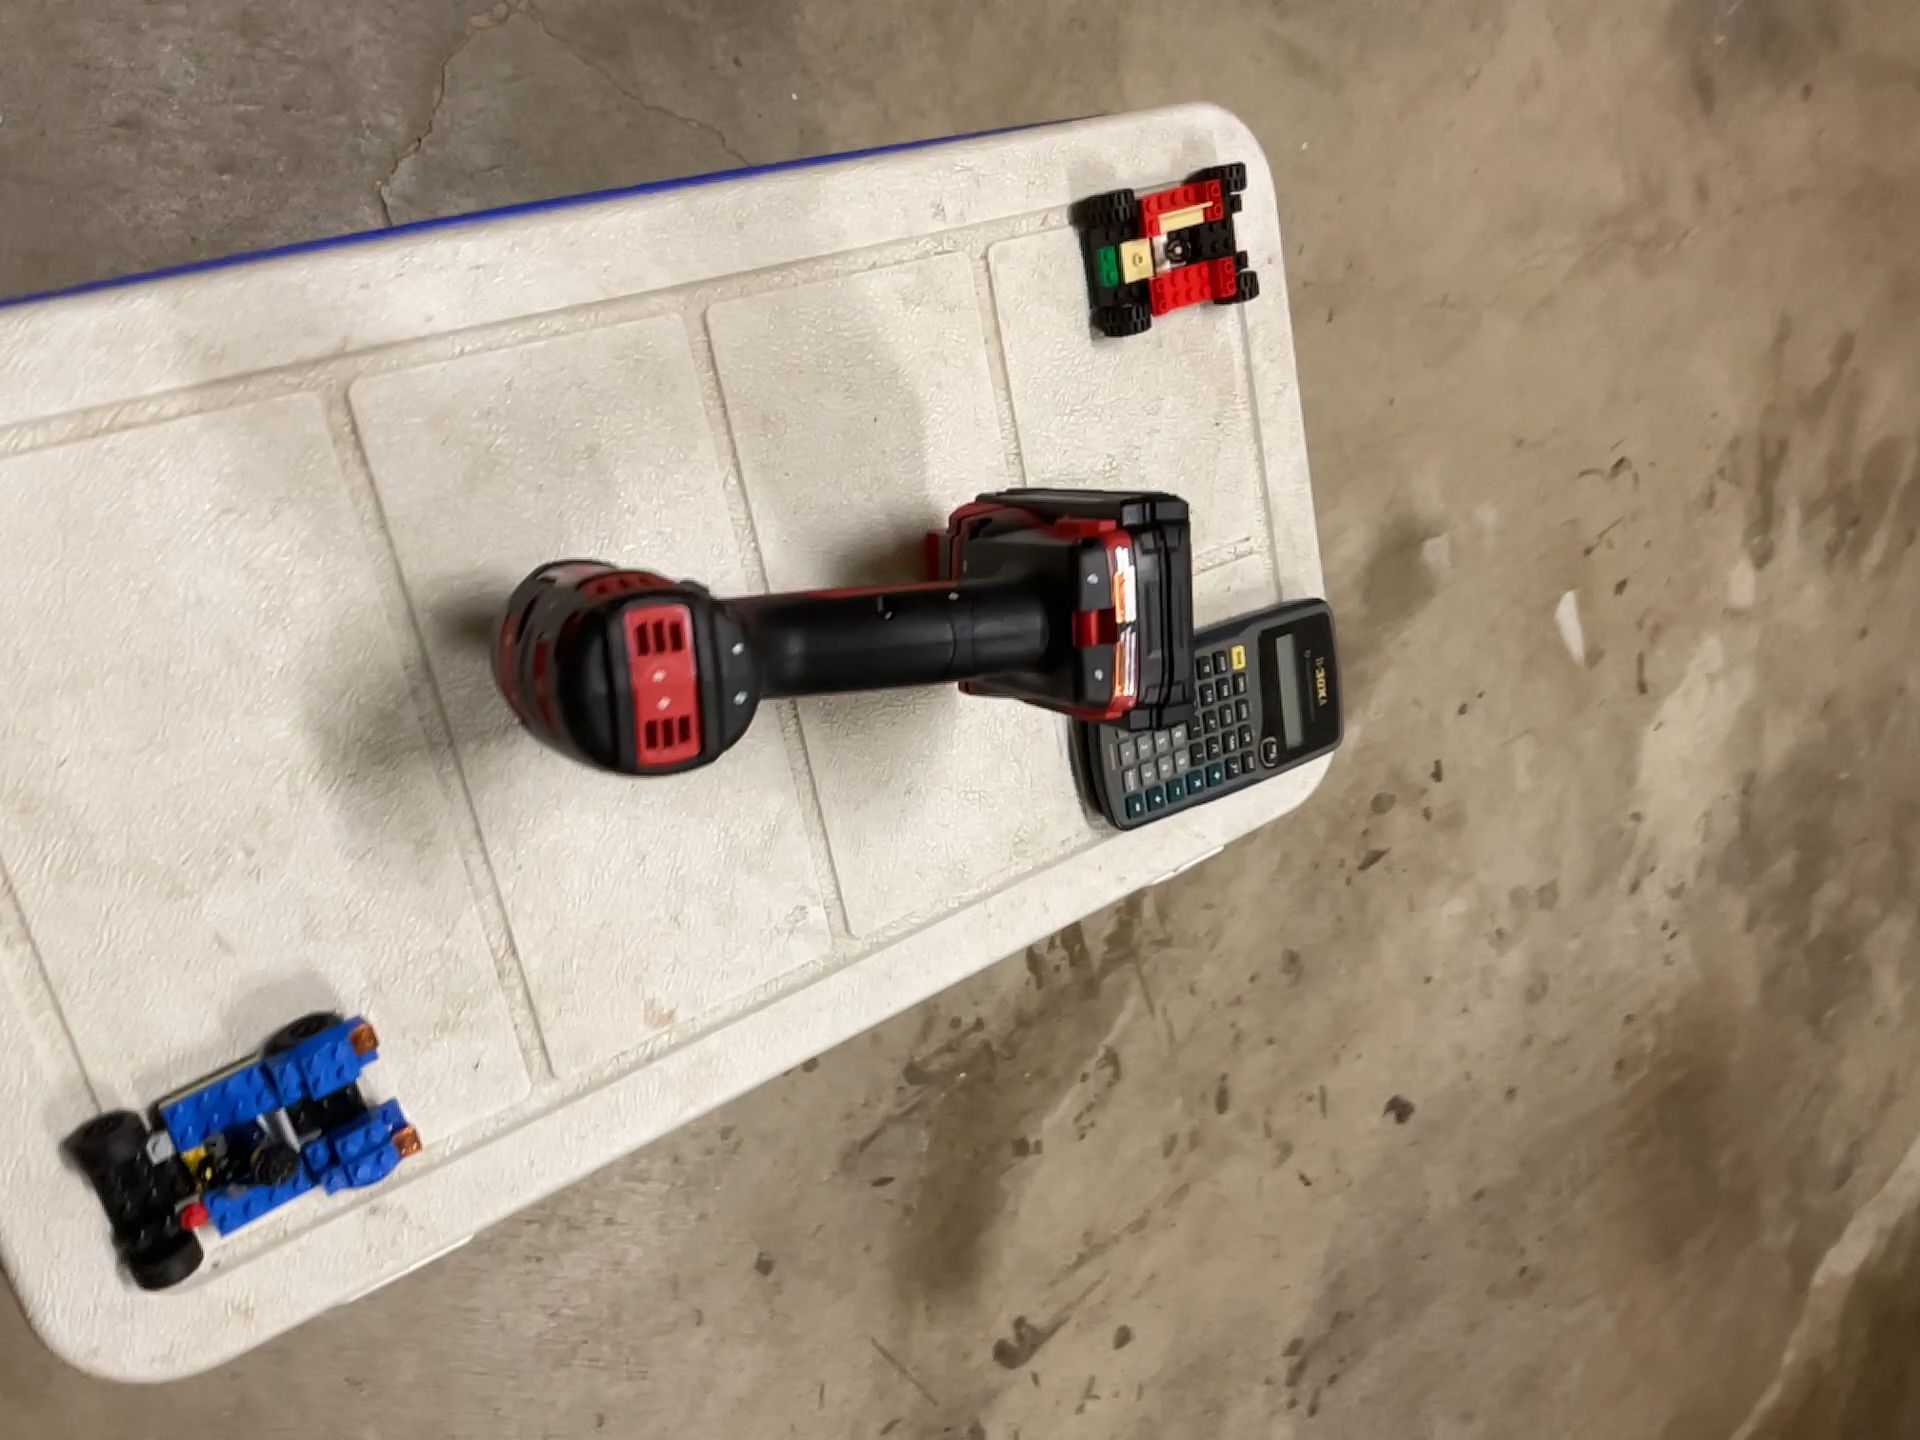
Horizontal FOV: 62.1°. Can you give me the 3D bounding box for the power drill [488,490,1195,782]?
[{"bbox_3d":[-0.043,-0.030,0.532,0.220,0.143,0.078,-9,102,-27],"label":"power drill"}]
